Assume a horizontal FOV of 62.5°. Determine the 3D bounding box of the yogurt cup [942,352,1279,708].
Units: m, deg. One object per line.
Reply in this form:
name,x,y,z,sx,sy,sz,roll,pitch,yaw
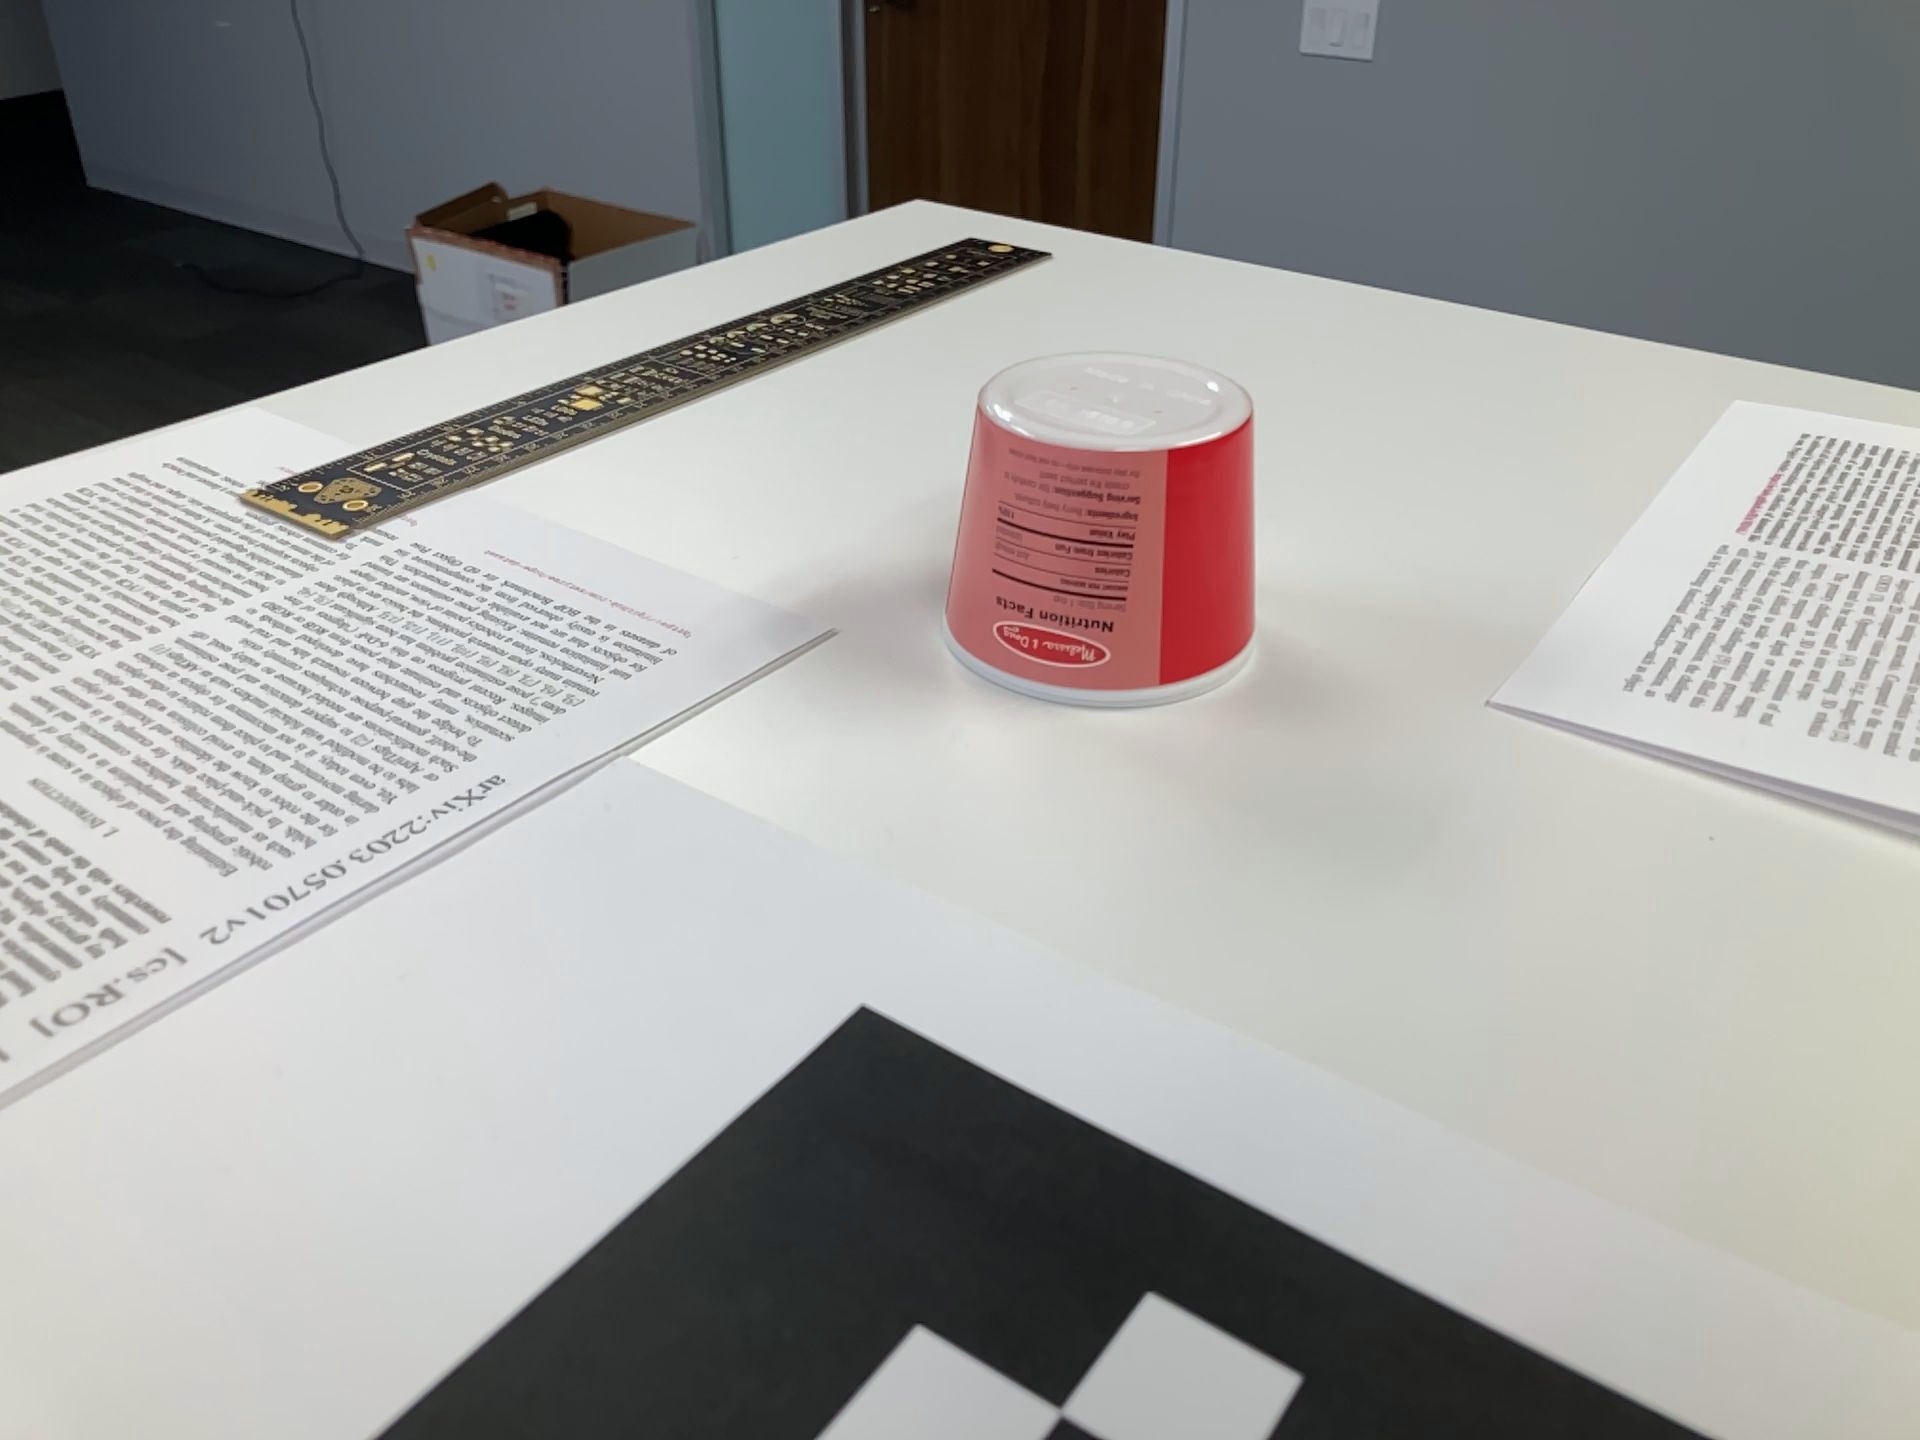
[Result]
yogurt cup,0.031,-0.042,0.329,0.072,0.054,0.072,1,32,-1
